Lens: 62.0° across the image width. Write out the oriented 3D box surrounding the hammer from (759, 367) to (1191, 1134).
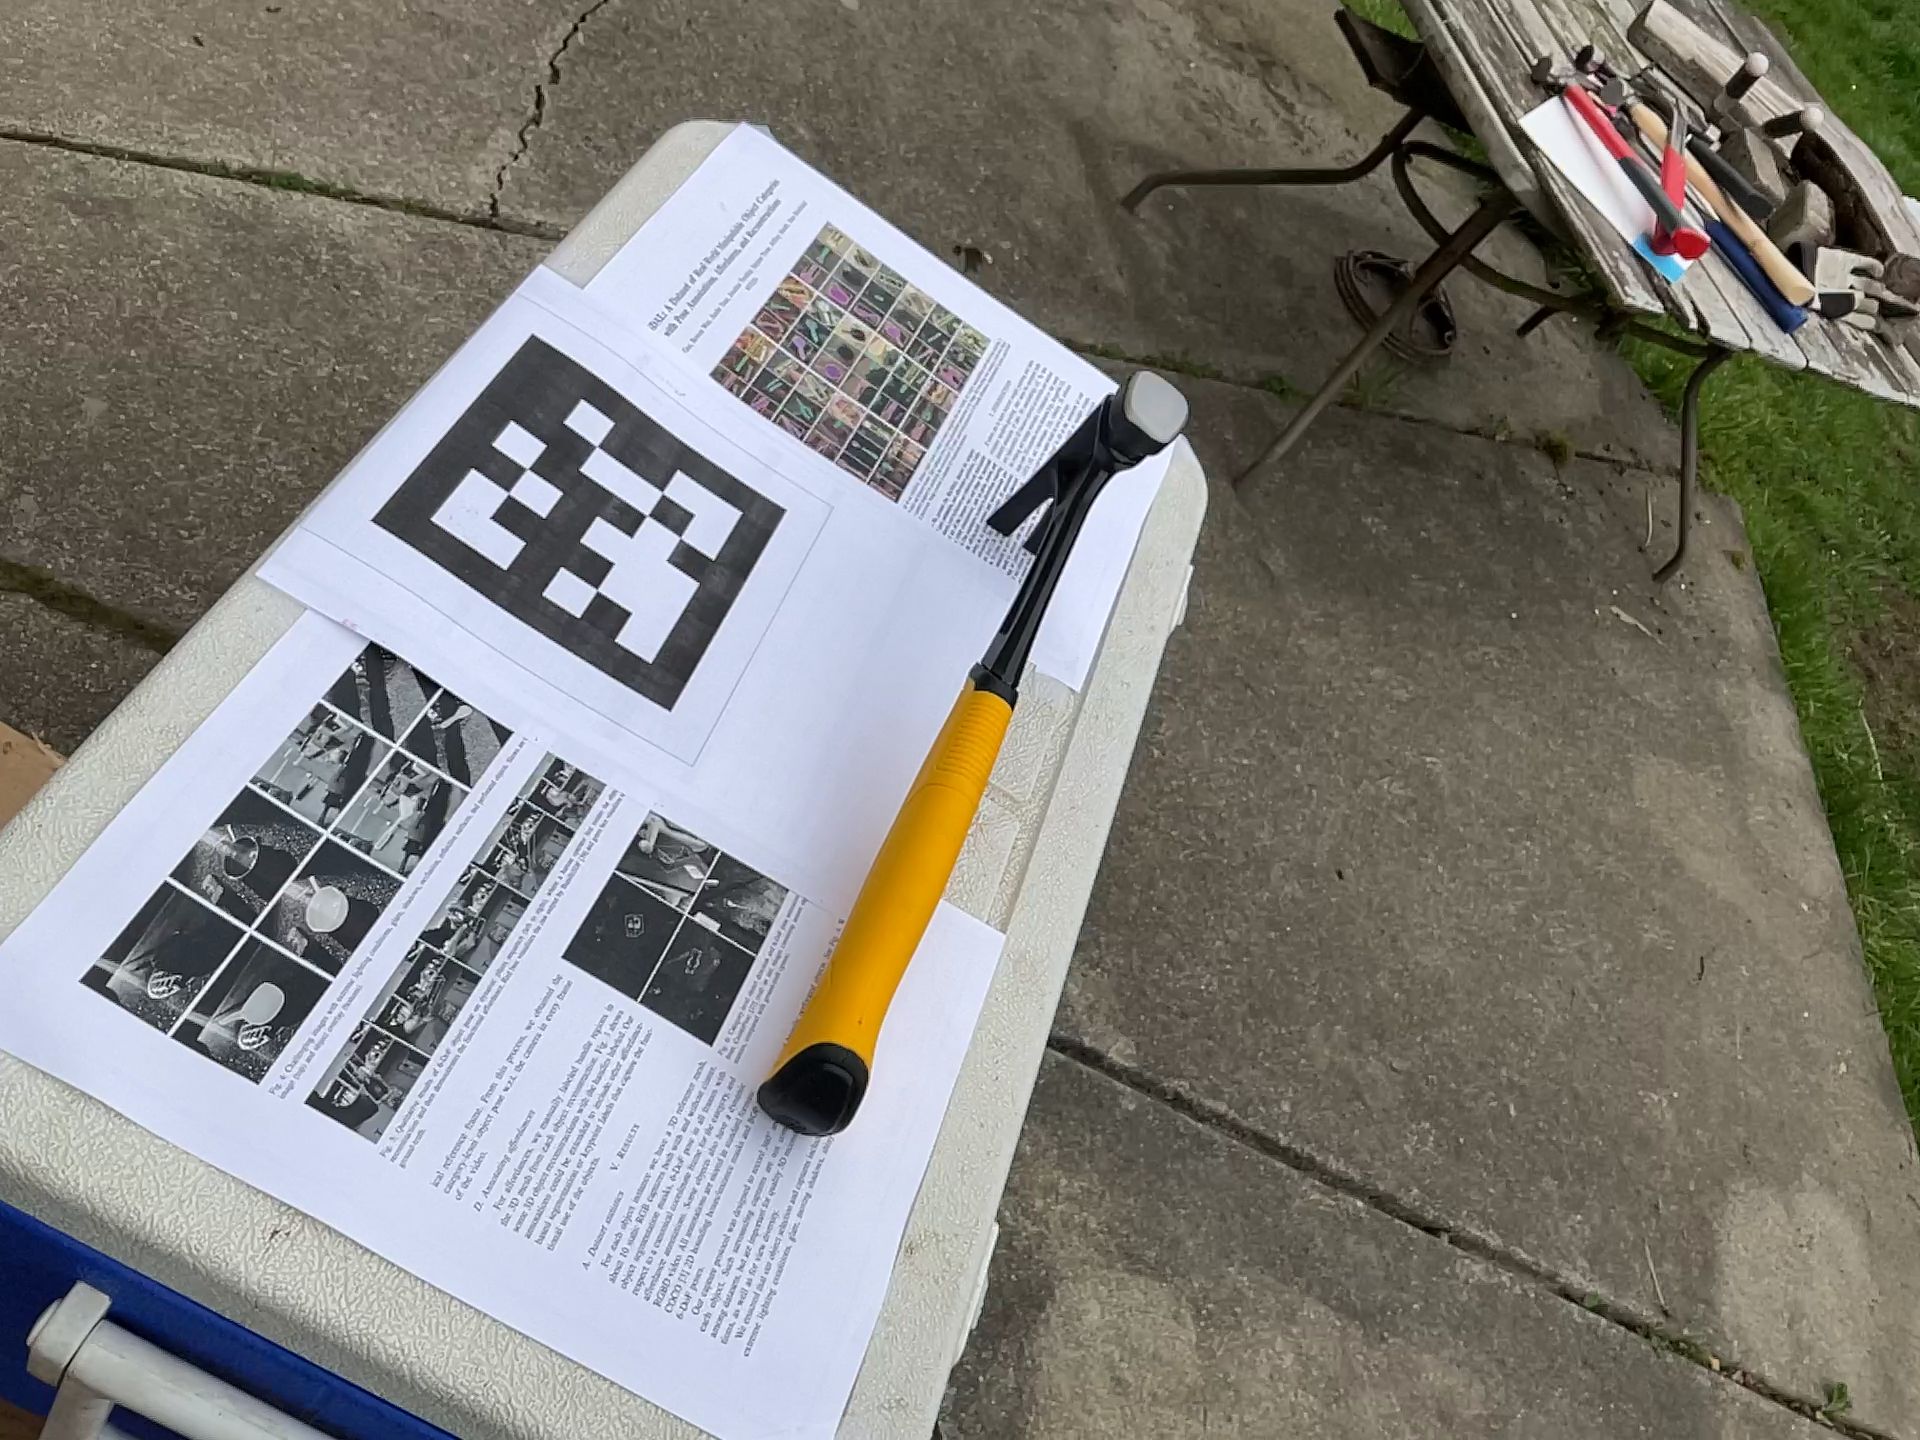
[{"bbox_3d":[0.002,0.006,0.625,0.034,0.127,0.337,32,56,-12],"label":"hammer"}]
